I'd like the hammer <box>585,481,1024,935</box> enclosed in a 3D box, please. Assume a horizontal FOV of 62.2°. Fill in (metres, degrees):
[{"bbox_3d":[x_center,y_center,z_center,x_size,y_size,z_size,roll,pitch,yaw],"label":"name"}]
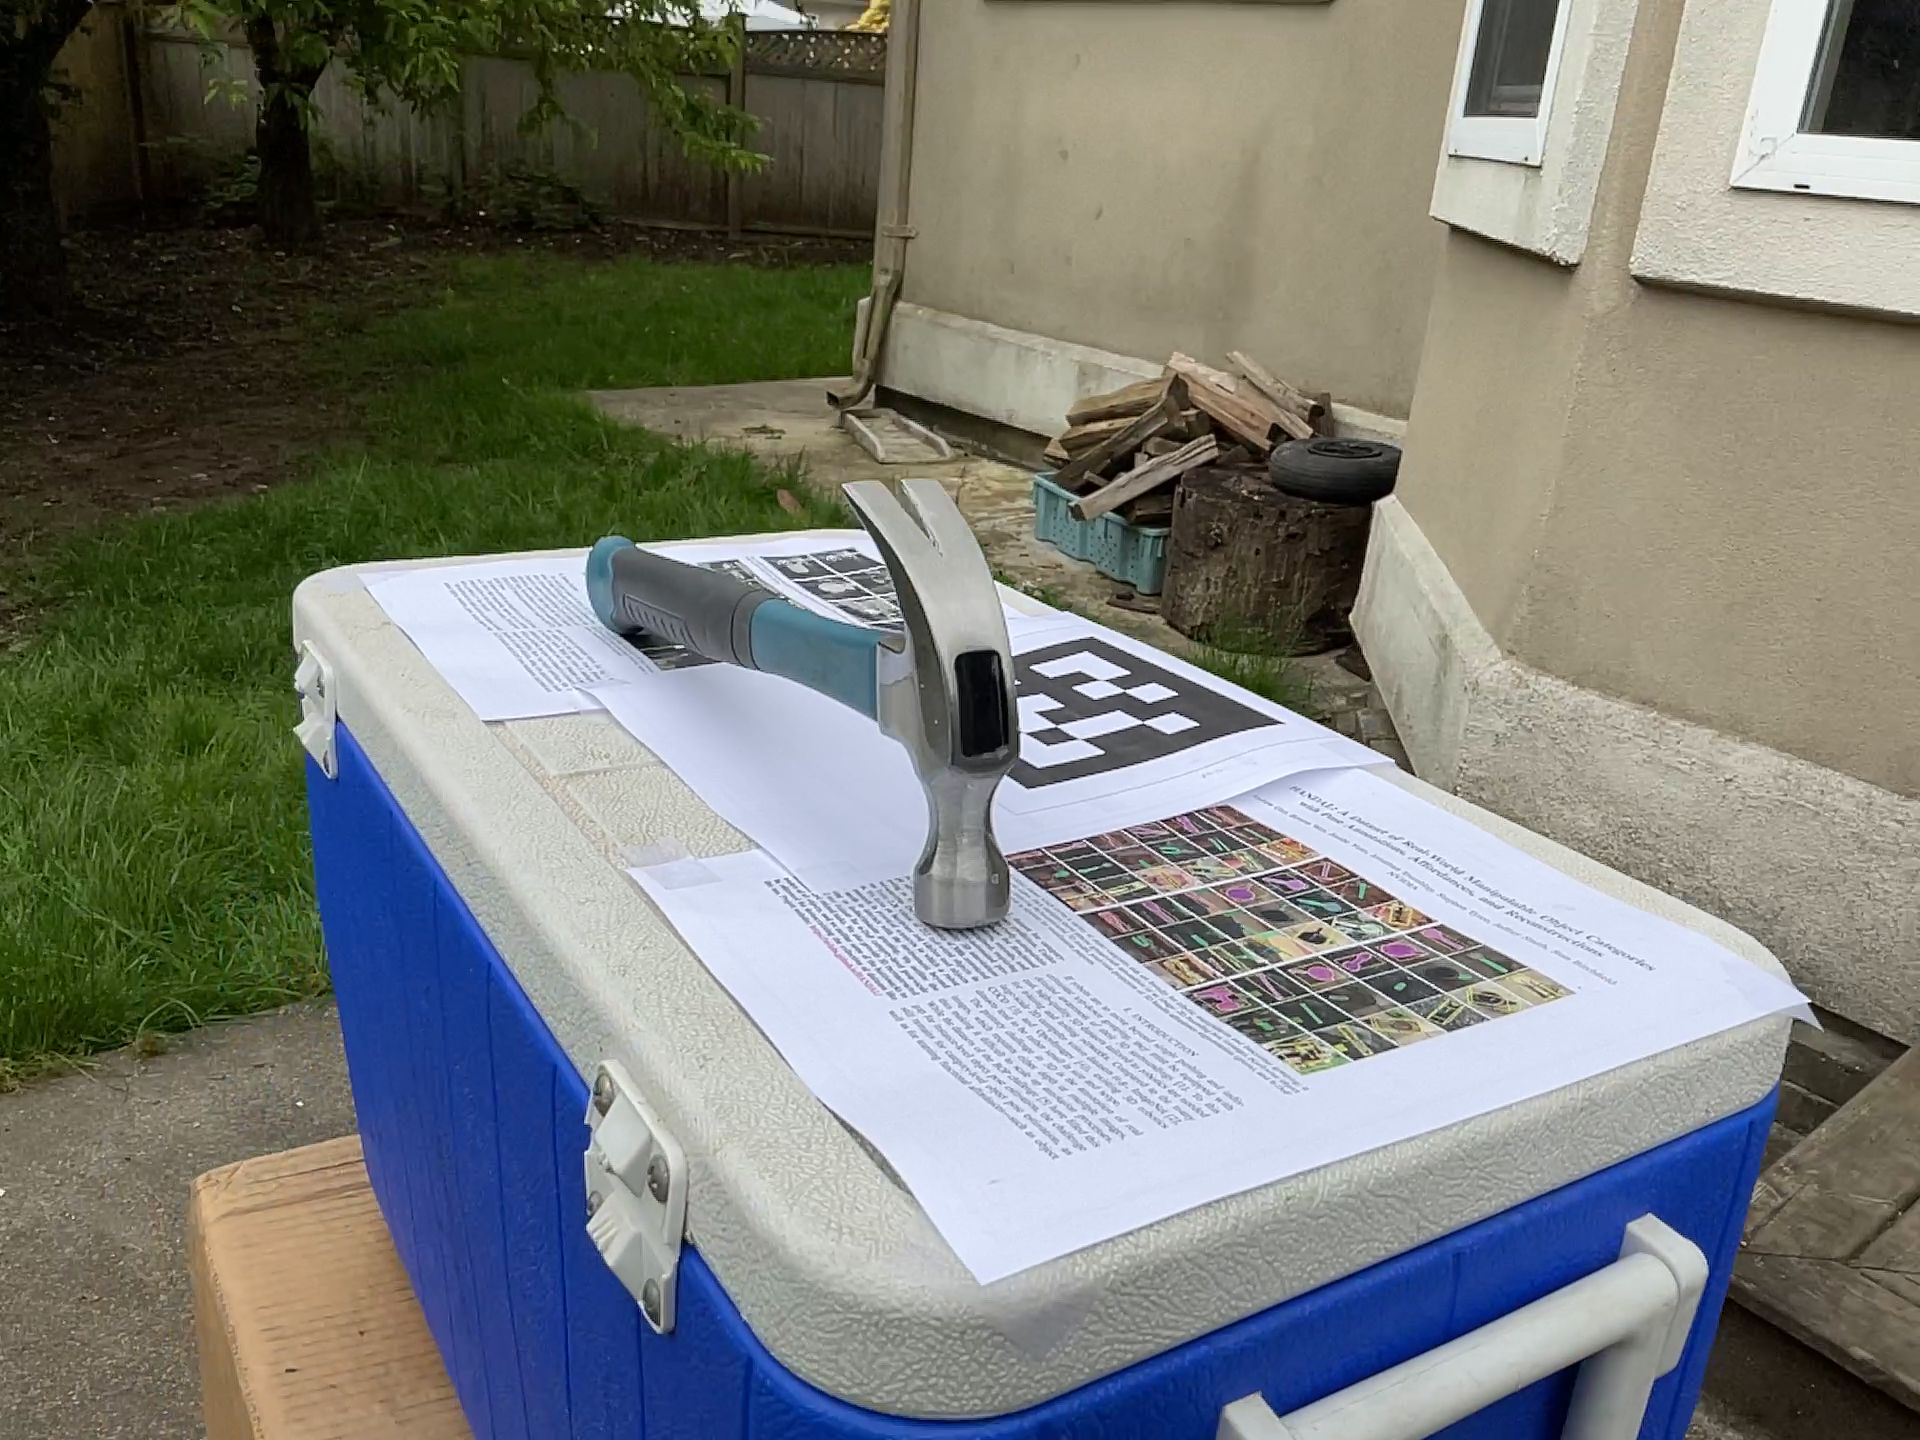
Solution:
[{"bbox_3d":[-0.075,-0.030,0.590,0.033,0.128,0.331,-6,14,-30],"label":"hammer"}]
